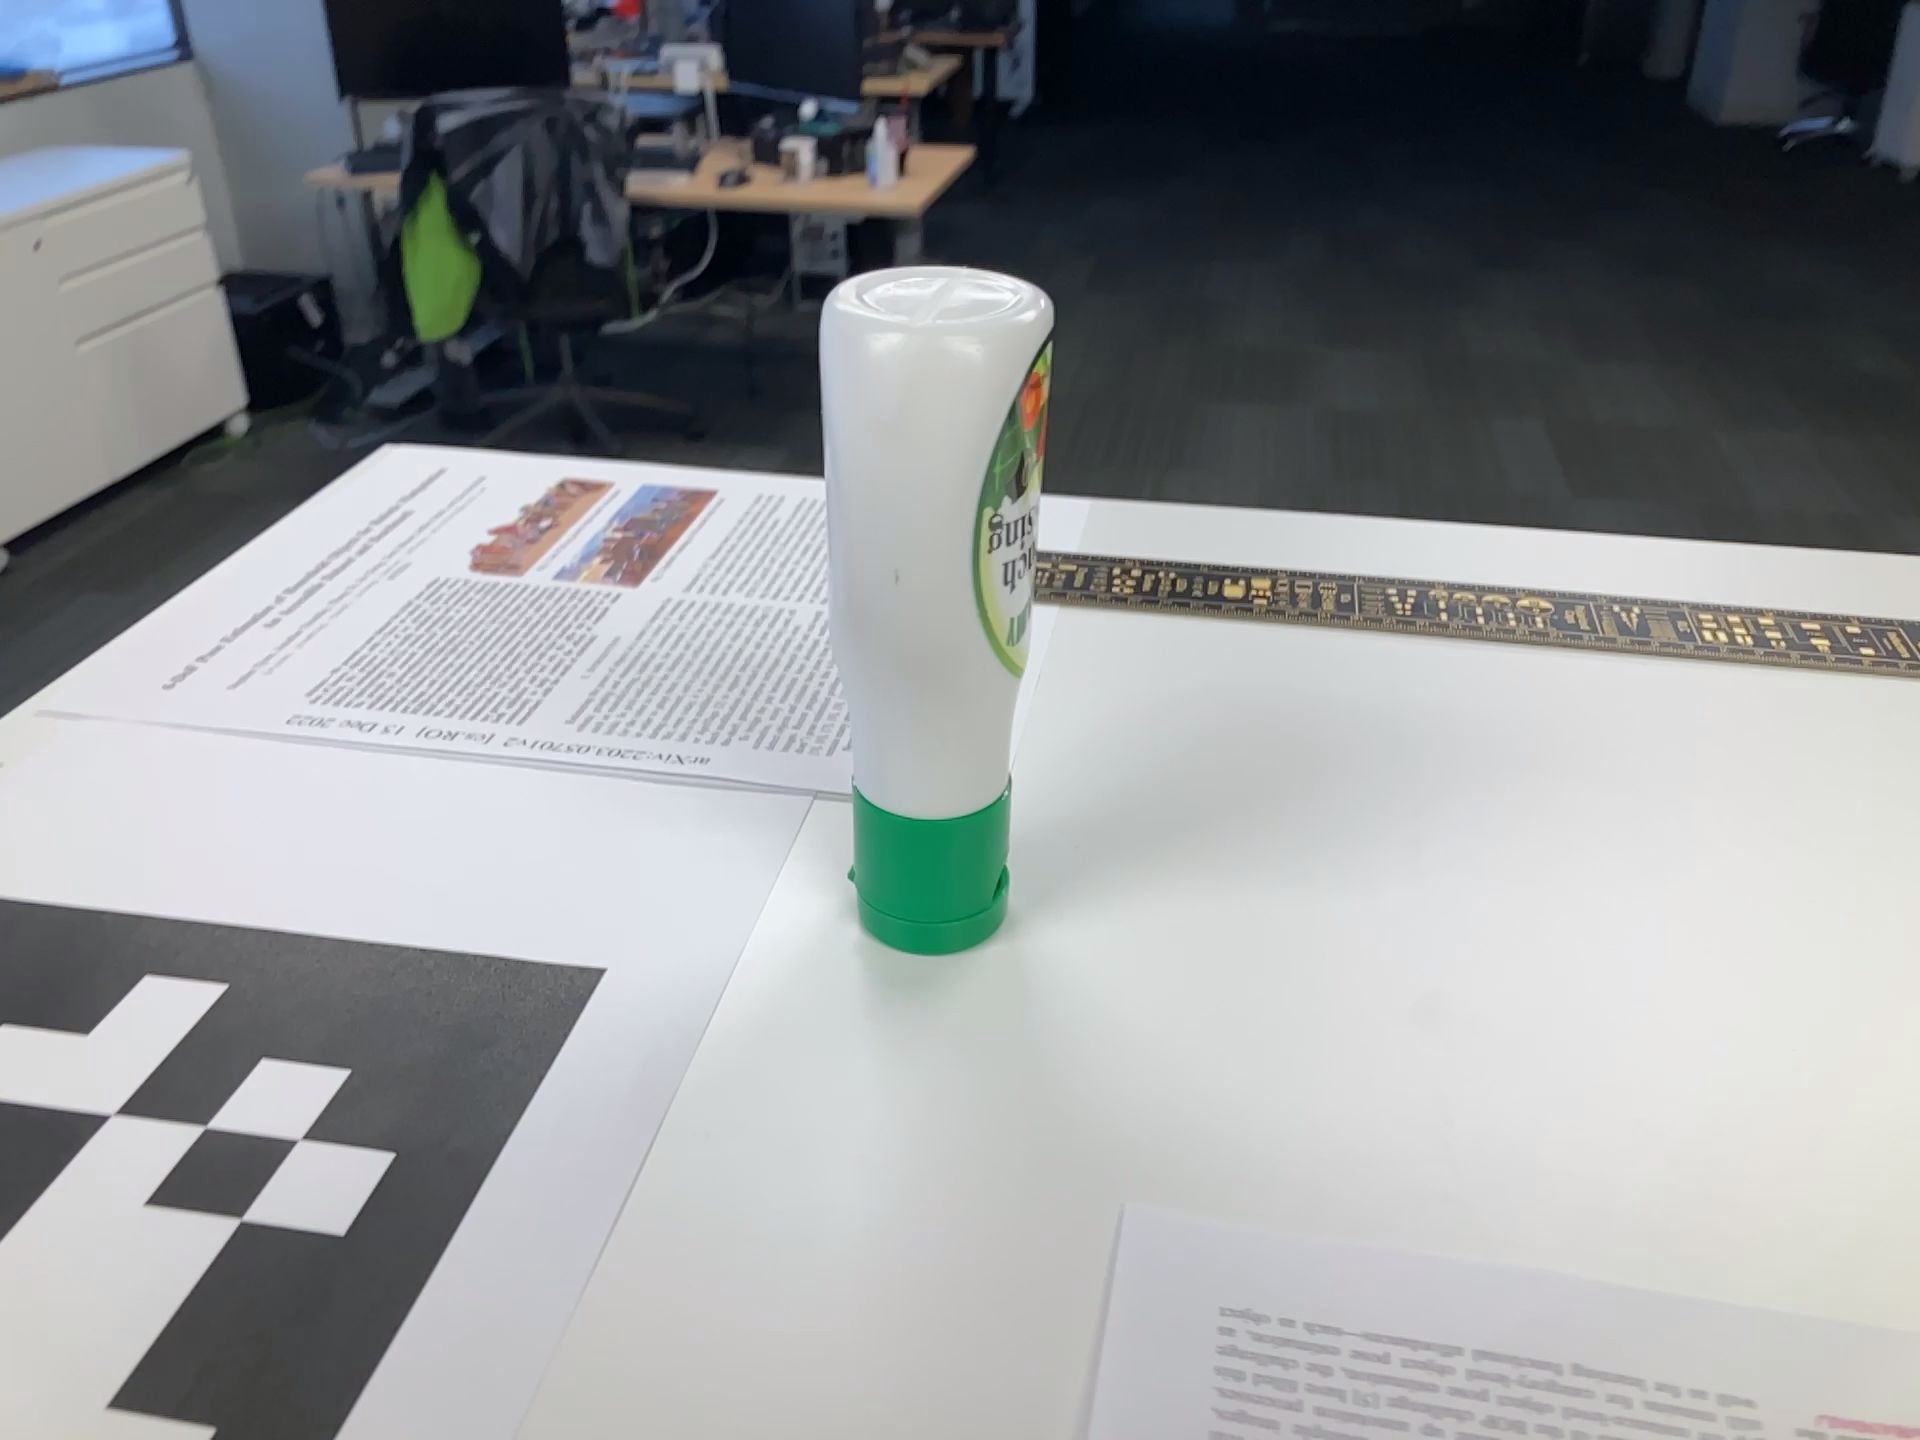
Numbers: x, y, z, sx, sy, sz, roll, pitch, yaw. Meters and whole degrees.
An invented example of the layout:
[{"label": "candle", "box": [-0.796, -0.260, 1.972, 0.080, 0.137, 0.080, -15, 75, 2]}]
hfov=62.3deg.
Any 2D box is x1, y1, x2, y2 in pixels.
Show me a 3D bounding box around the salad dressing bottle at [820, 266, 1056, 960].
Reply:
[{"label": "salad dressing bottle", "box": [-0.005, -0.018, 0.338, 0.044, 0.147, 0.064, 7, 31, 10]}]
